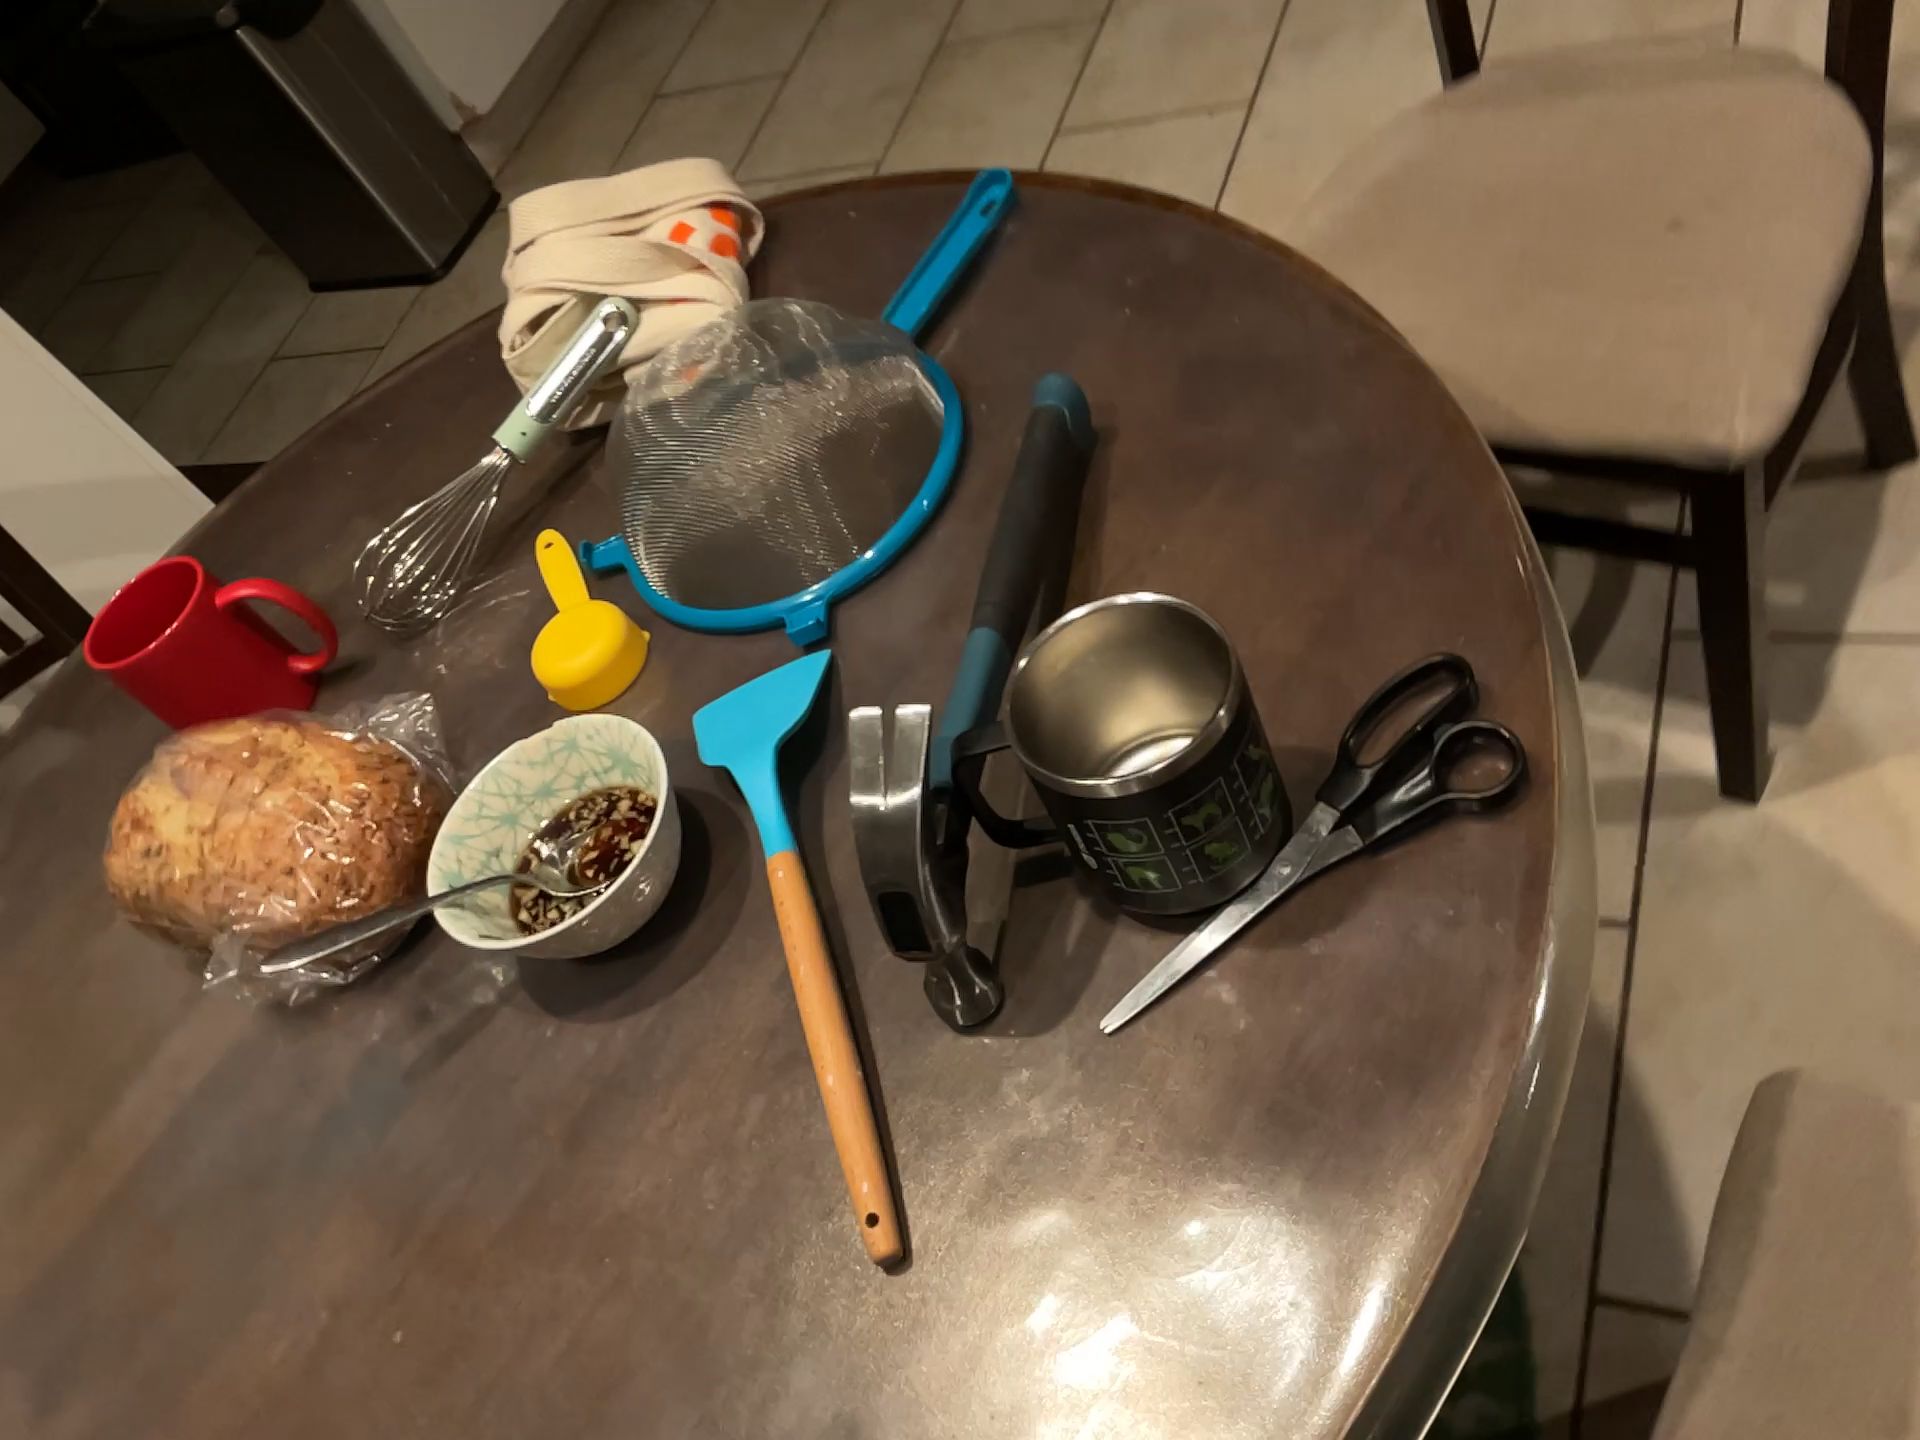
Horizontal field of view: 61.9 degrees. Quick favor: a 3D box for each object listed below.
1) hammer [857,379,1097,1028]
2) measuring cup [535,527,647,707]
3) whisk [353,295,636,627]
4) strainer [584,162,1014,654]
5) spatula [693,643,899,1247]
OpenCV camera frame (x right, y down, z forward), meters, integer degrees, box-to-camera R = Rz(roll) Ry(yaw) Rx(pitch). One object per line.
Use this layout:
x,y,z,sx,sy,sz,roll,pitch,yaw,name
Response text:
0.019,-0.038,0.709,0.033,0.128,0.331,-4,45,22,hammer
-0.220,-0.069,0.891,0.062,0.029,0.157,-33,48,1,measuring cup
-0.275,-0.157,0.956,0.246,0.057,0.059,-53,19,-6,whisk
-0.077,-0.207,0.882,0.211,0.095,0.340,20,70,36,strainer
-0.066,0.082,0.703,0.082,0.044,0.318,-25,52,7,spatula
